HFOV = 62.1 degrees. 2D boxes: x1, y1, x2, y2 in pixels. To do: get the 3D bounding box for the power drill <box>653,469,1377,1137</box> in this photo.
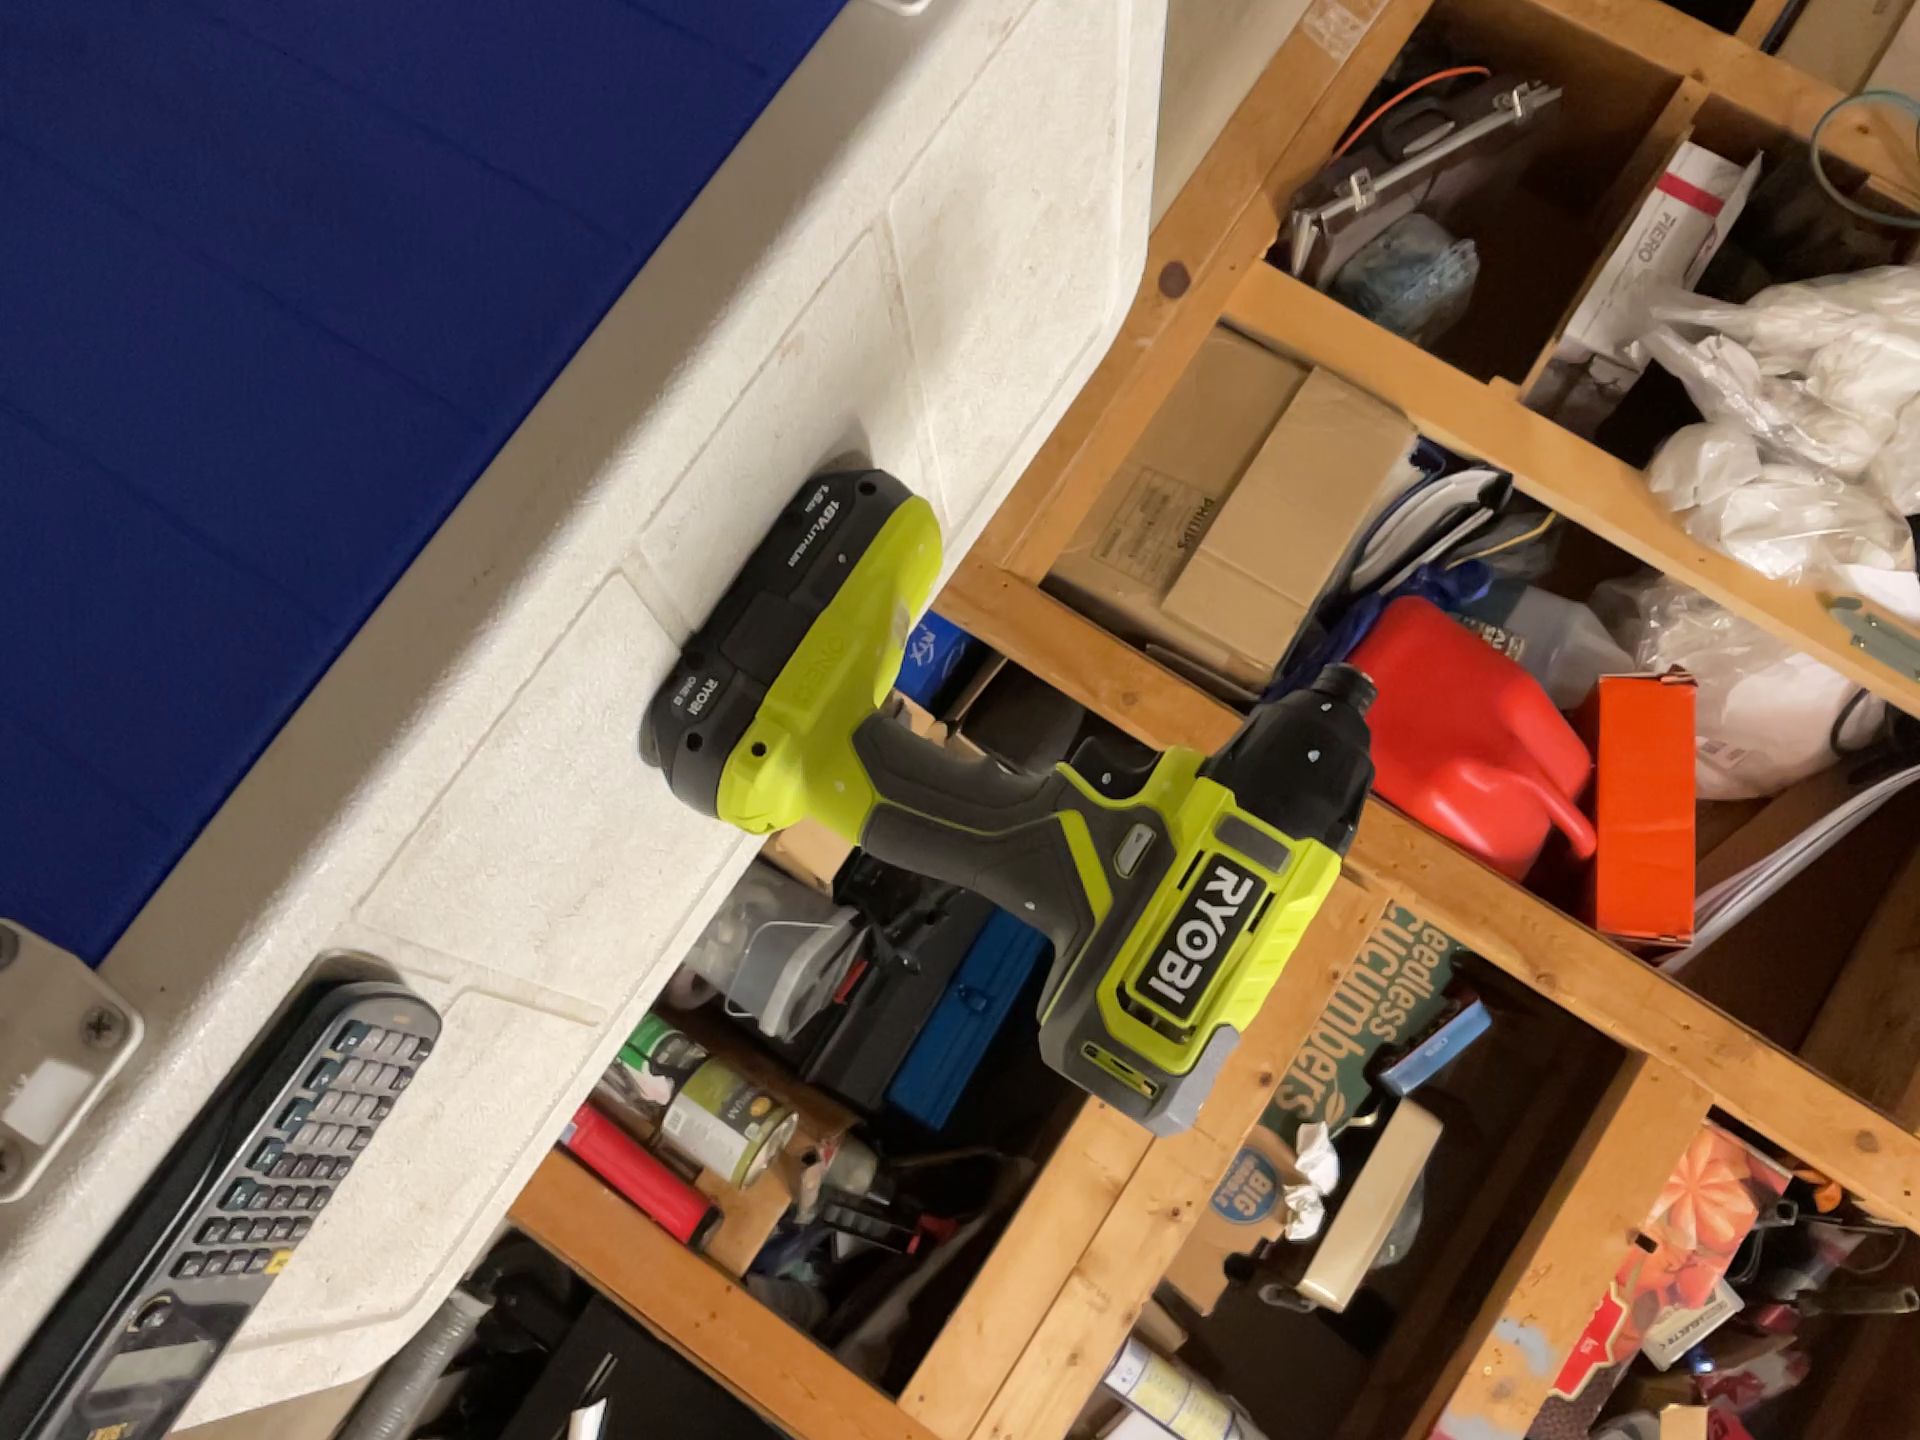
[{"bbox_3d":[0.023,0.014,0.562,0.171,0.223,0.080,-57,169,-9],"label":"power drill"}]
